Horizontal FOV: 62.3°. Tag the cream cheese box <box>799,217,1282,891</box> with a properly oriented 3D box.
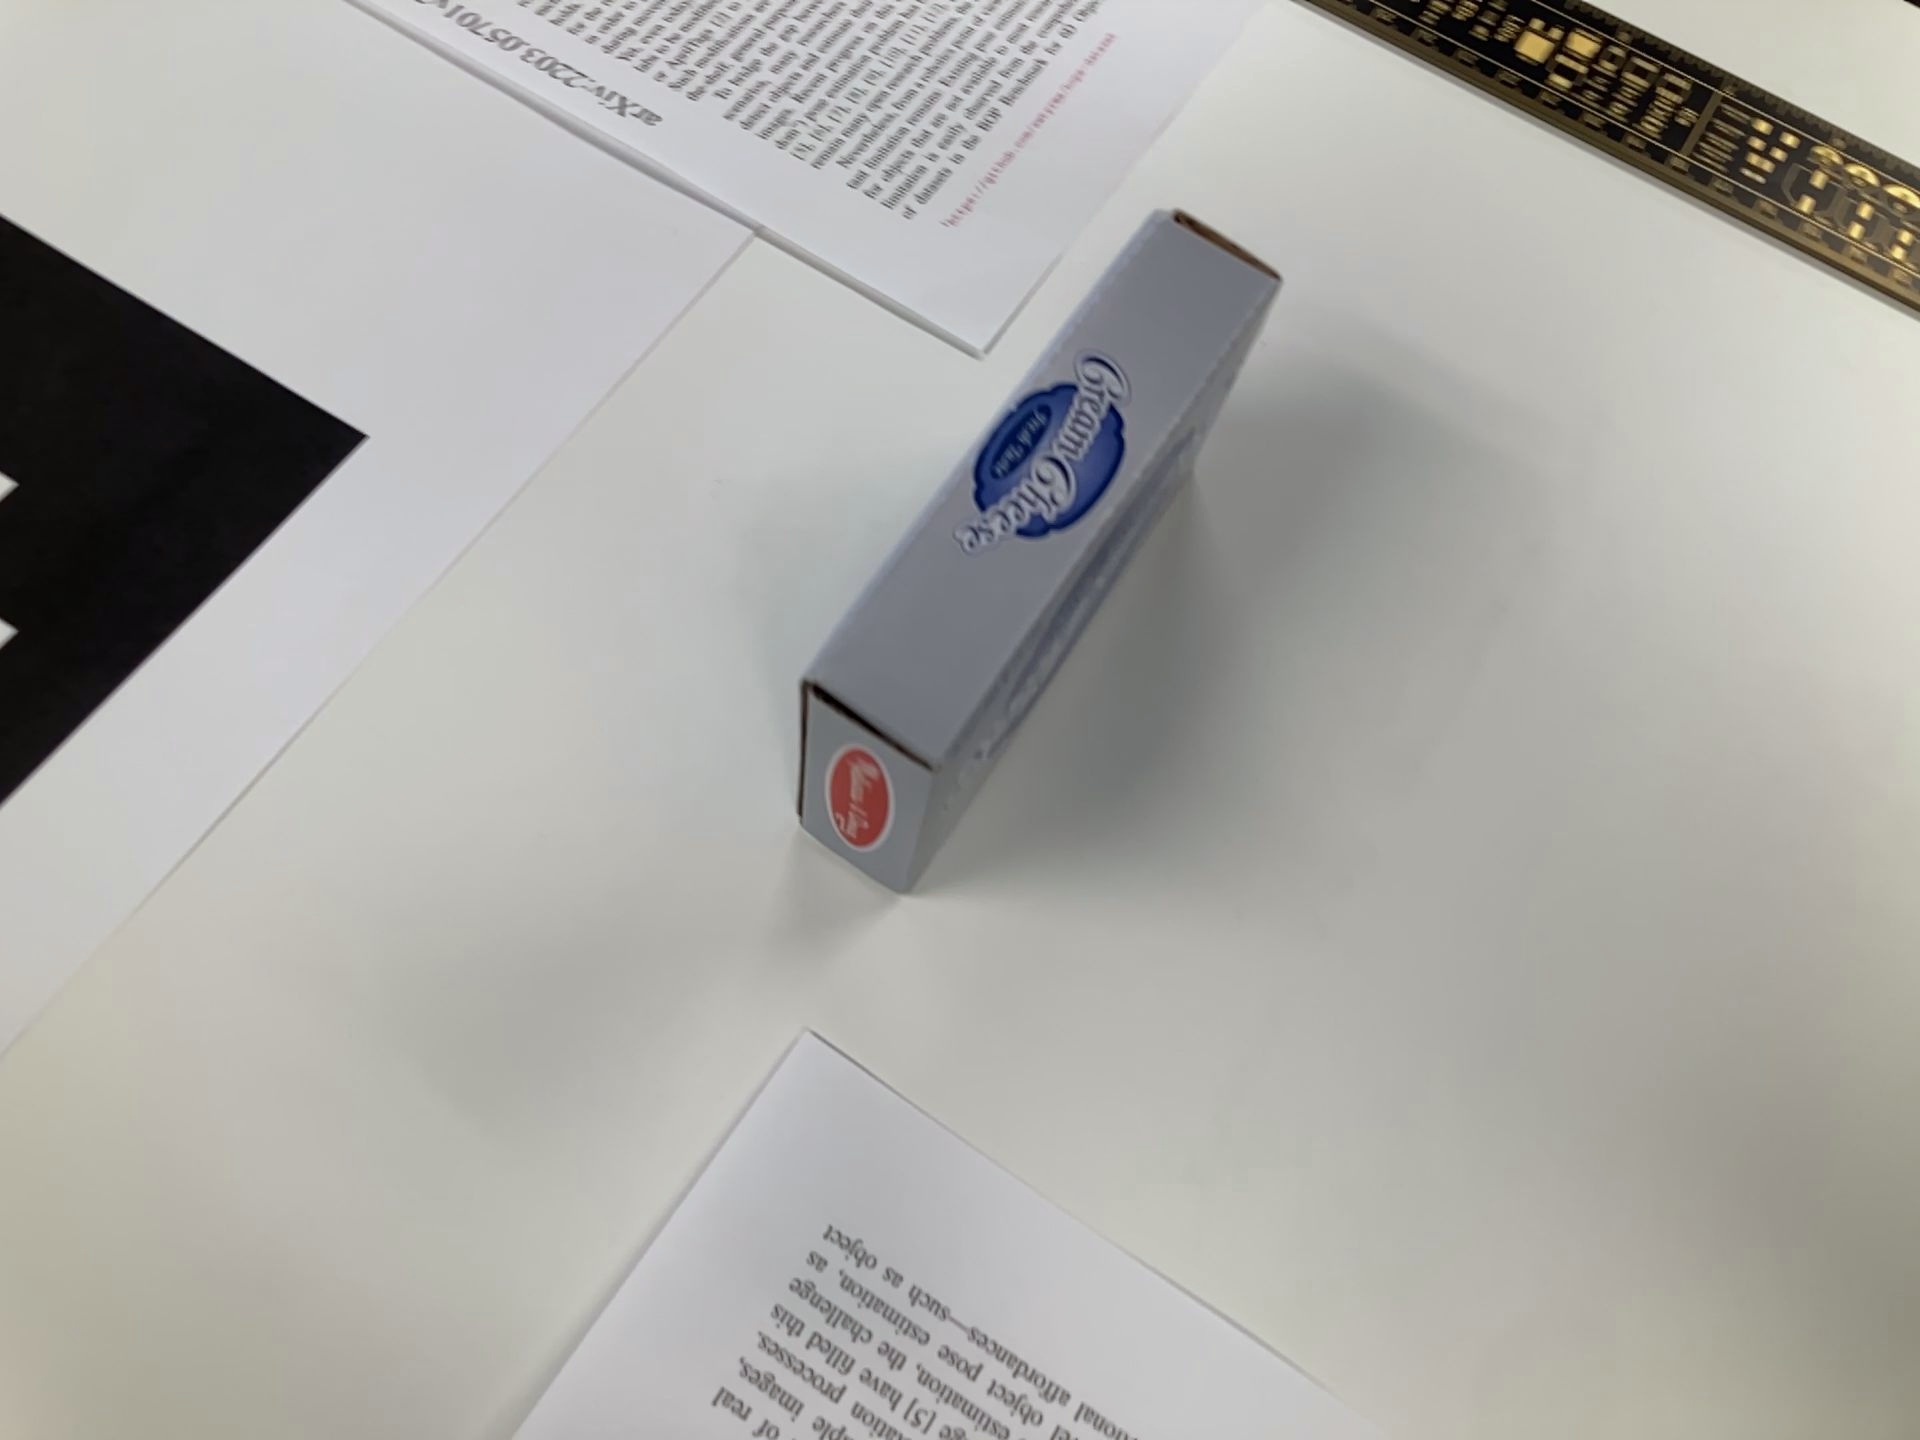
[{"bbox_3d":[0.011,-0.027,0.252,0.024,0.053,0.104,32,65,7],"label":"cream cheese box"}]
